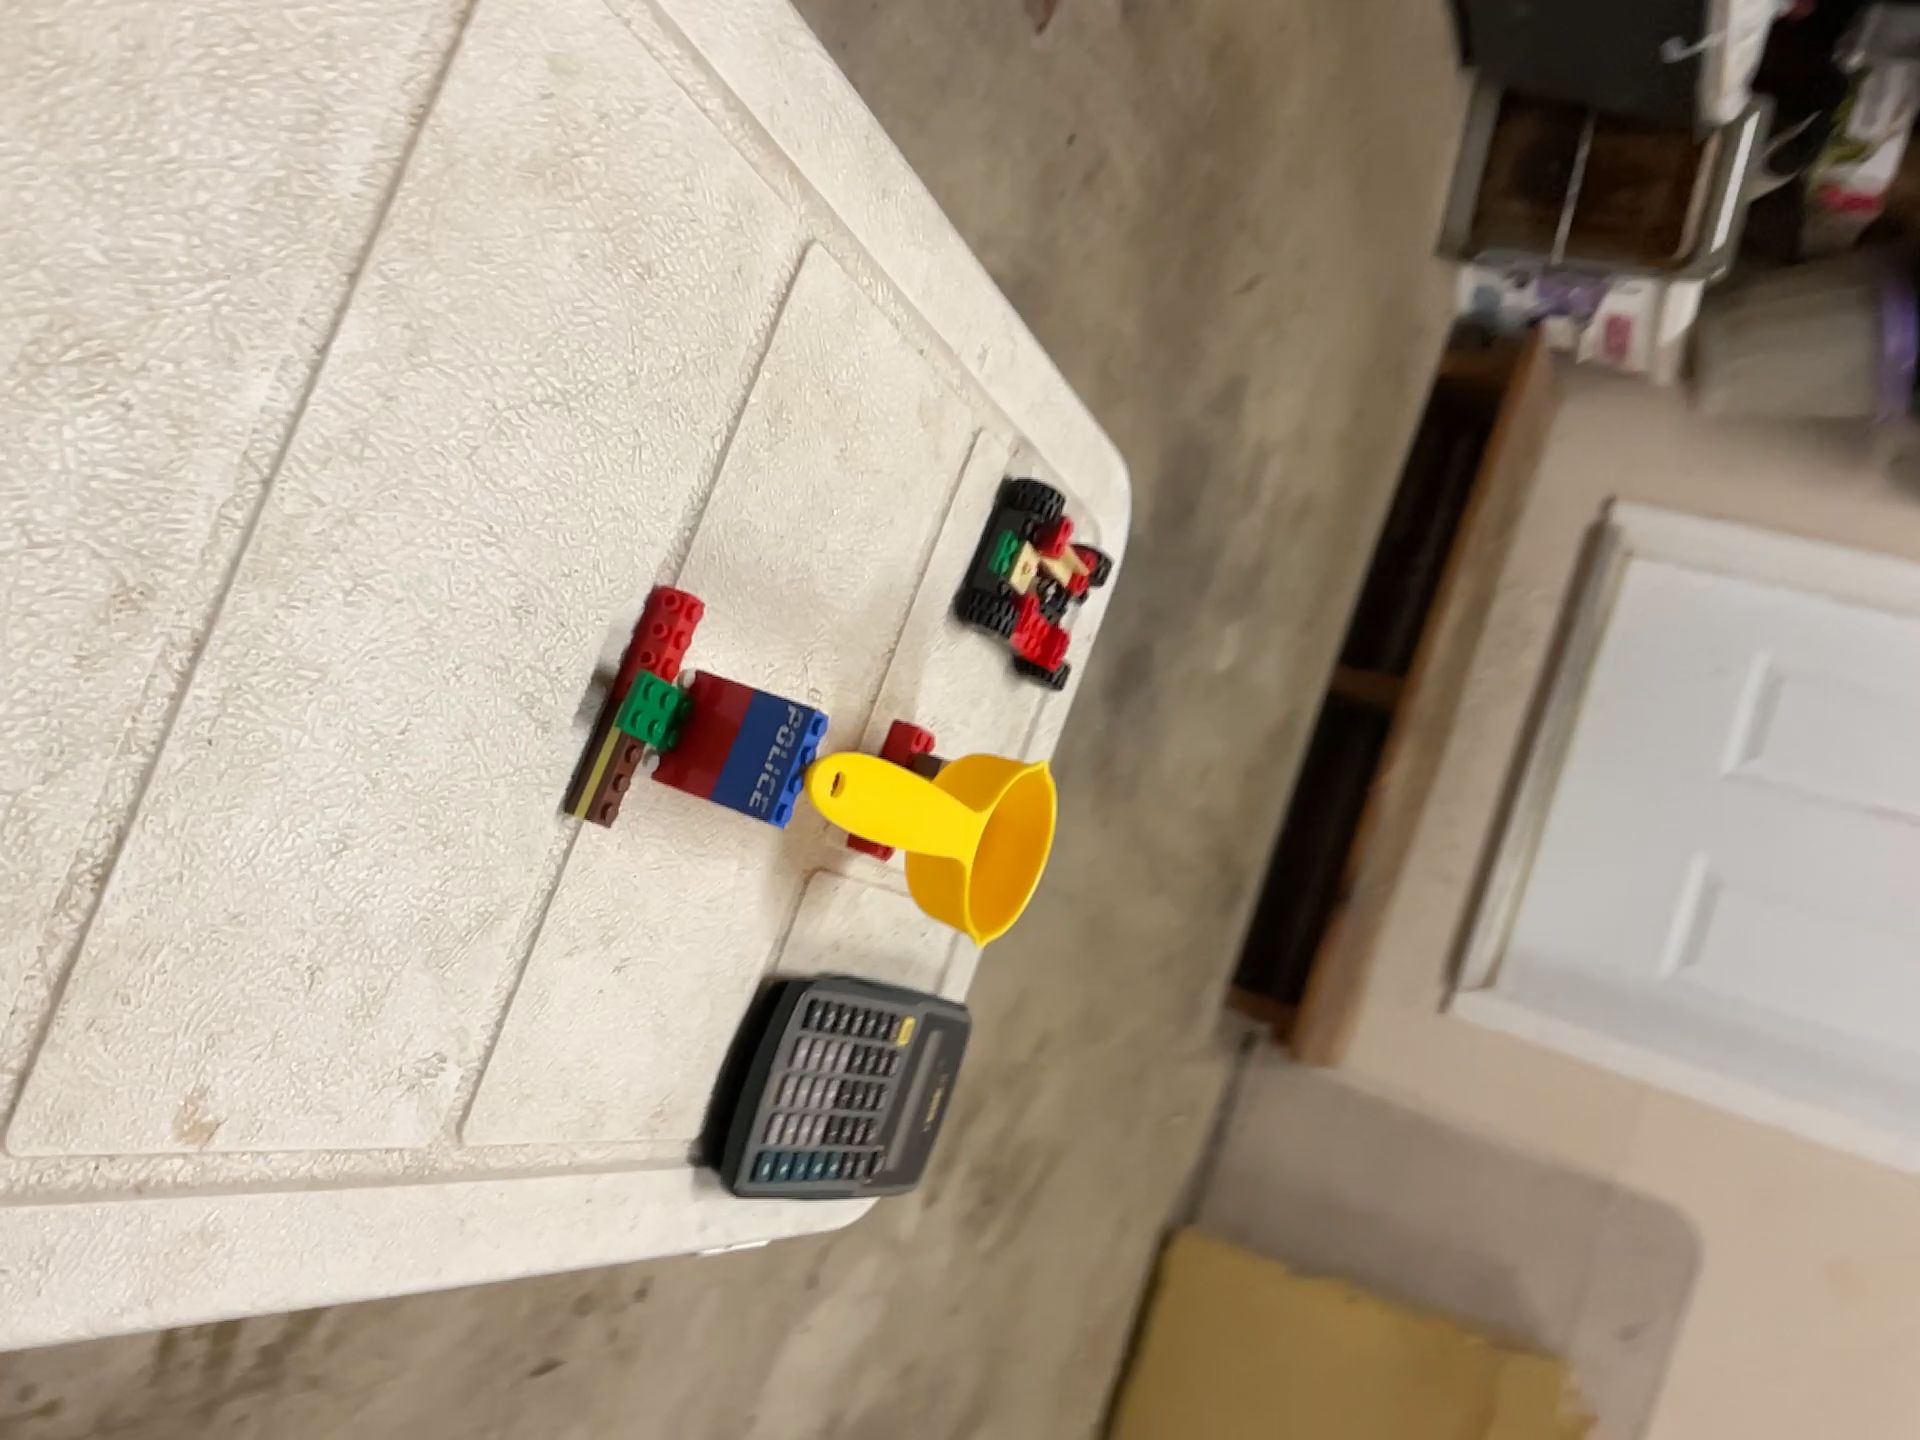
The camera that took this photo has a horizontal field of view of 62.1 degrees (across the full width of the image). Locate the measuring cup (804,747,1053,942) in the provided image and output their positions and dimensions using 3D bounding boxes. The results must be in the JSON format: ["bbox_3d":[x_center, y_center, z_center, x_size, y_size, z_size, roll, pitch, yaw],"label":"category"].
[{"bbox_3d":[-0.015,0.028,0.487,0.156,0.029,0.062,29,79,-61],"label":"measuring cup"}]
